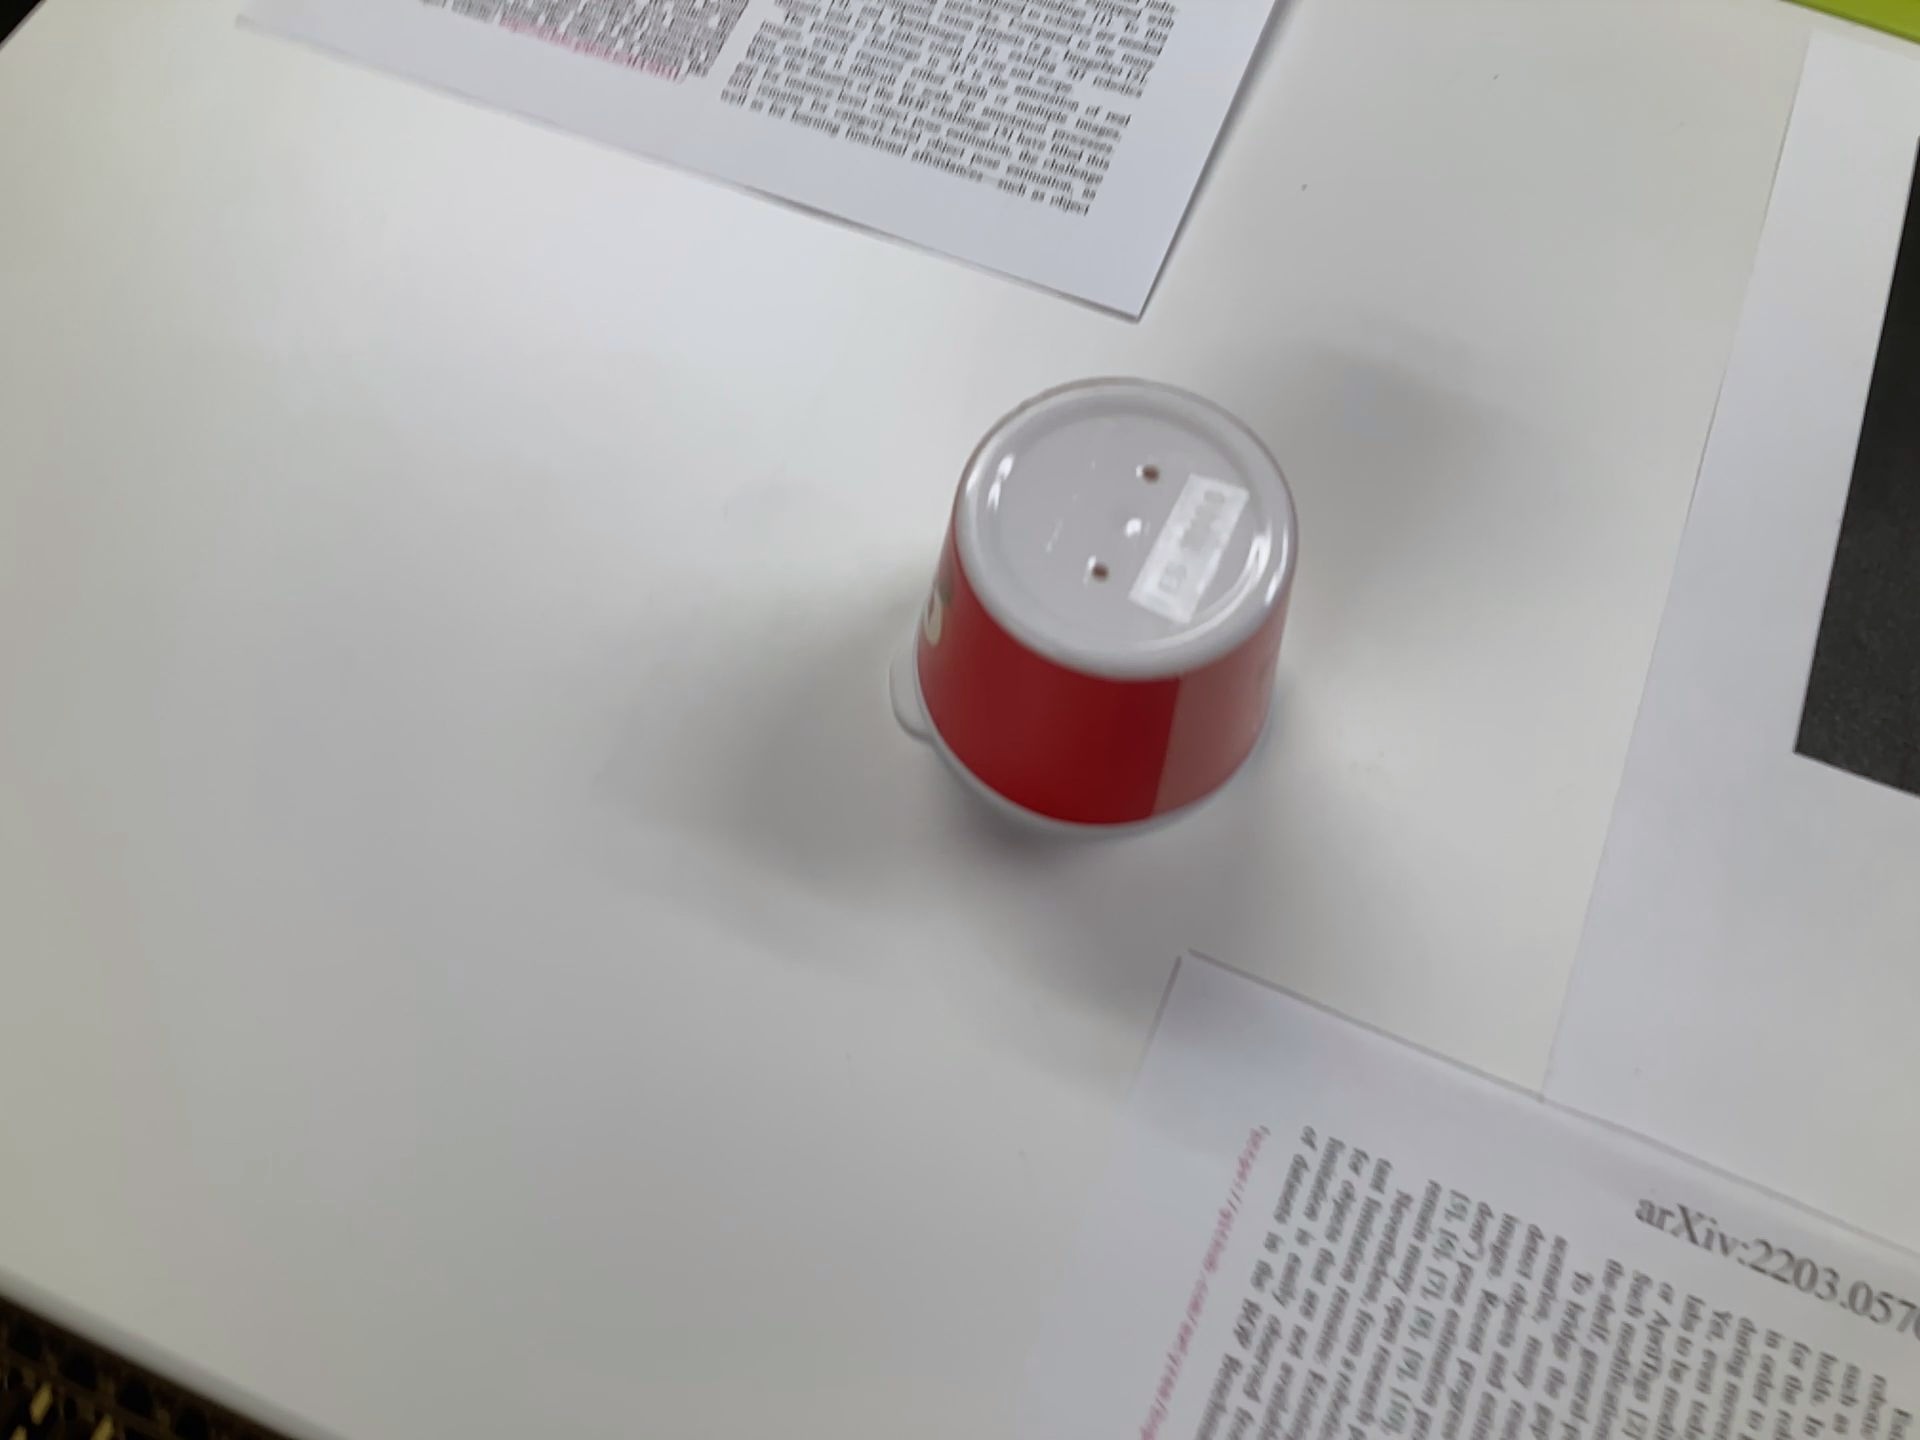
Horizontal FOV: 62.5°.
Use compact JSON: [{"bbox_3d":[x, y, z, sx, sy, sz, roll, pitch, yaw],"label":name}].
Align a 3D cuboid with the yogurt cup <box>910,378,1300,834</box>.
[{"bbox_3d":[0.026,-0.021,0.272,0.072,0.054,0.072,1,65,-1],"label":"yogurt cup"}]
